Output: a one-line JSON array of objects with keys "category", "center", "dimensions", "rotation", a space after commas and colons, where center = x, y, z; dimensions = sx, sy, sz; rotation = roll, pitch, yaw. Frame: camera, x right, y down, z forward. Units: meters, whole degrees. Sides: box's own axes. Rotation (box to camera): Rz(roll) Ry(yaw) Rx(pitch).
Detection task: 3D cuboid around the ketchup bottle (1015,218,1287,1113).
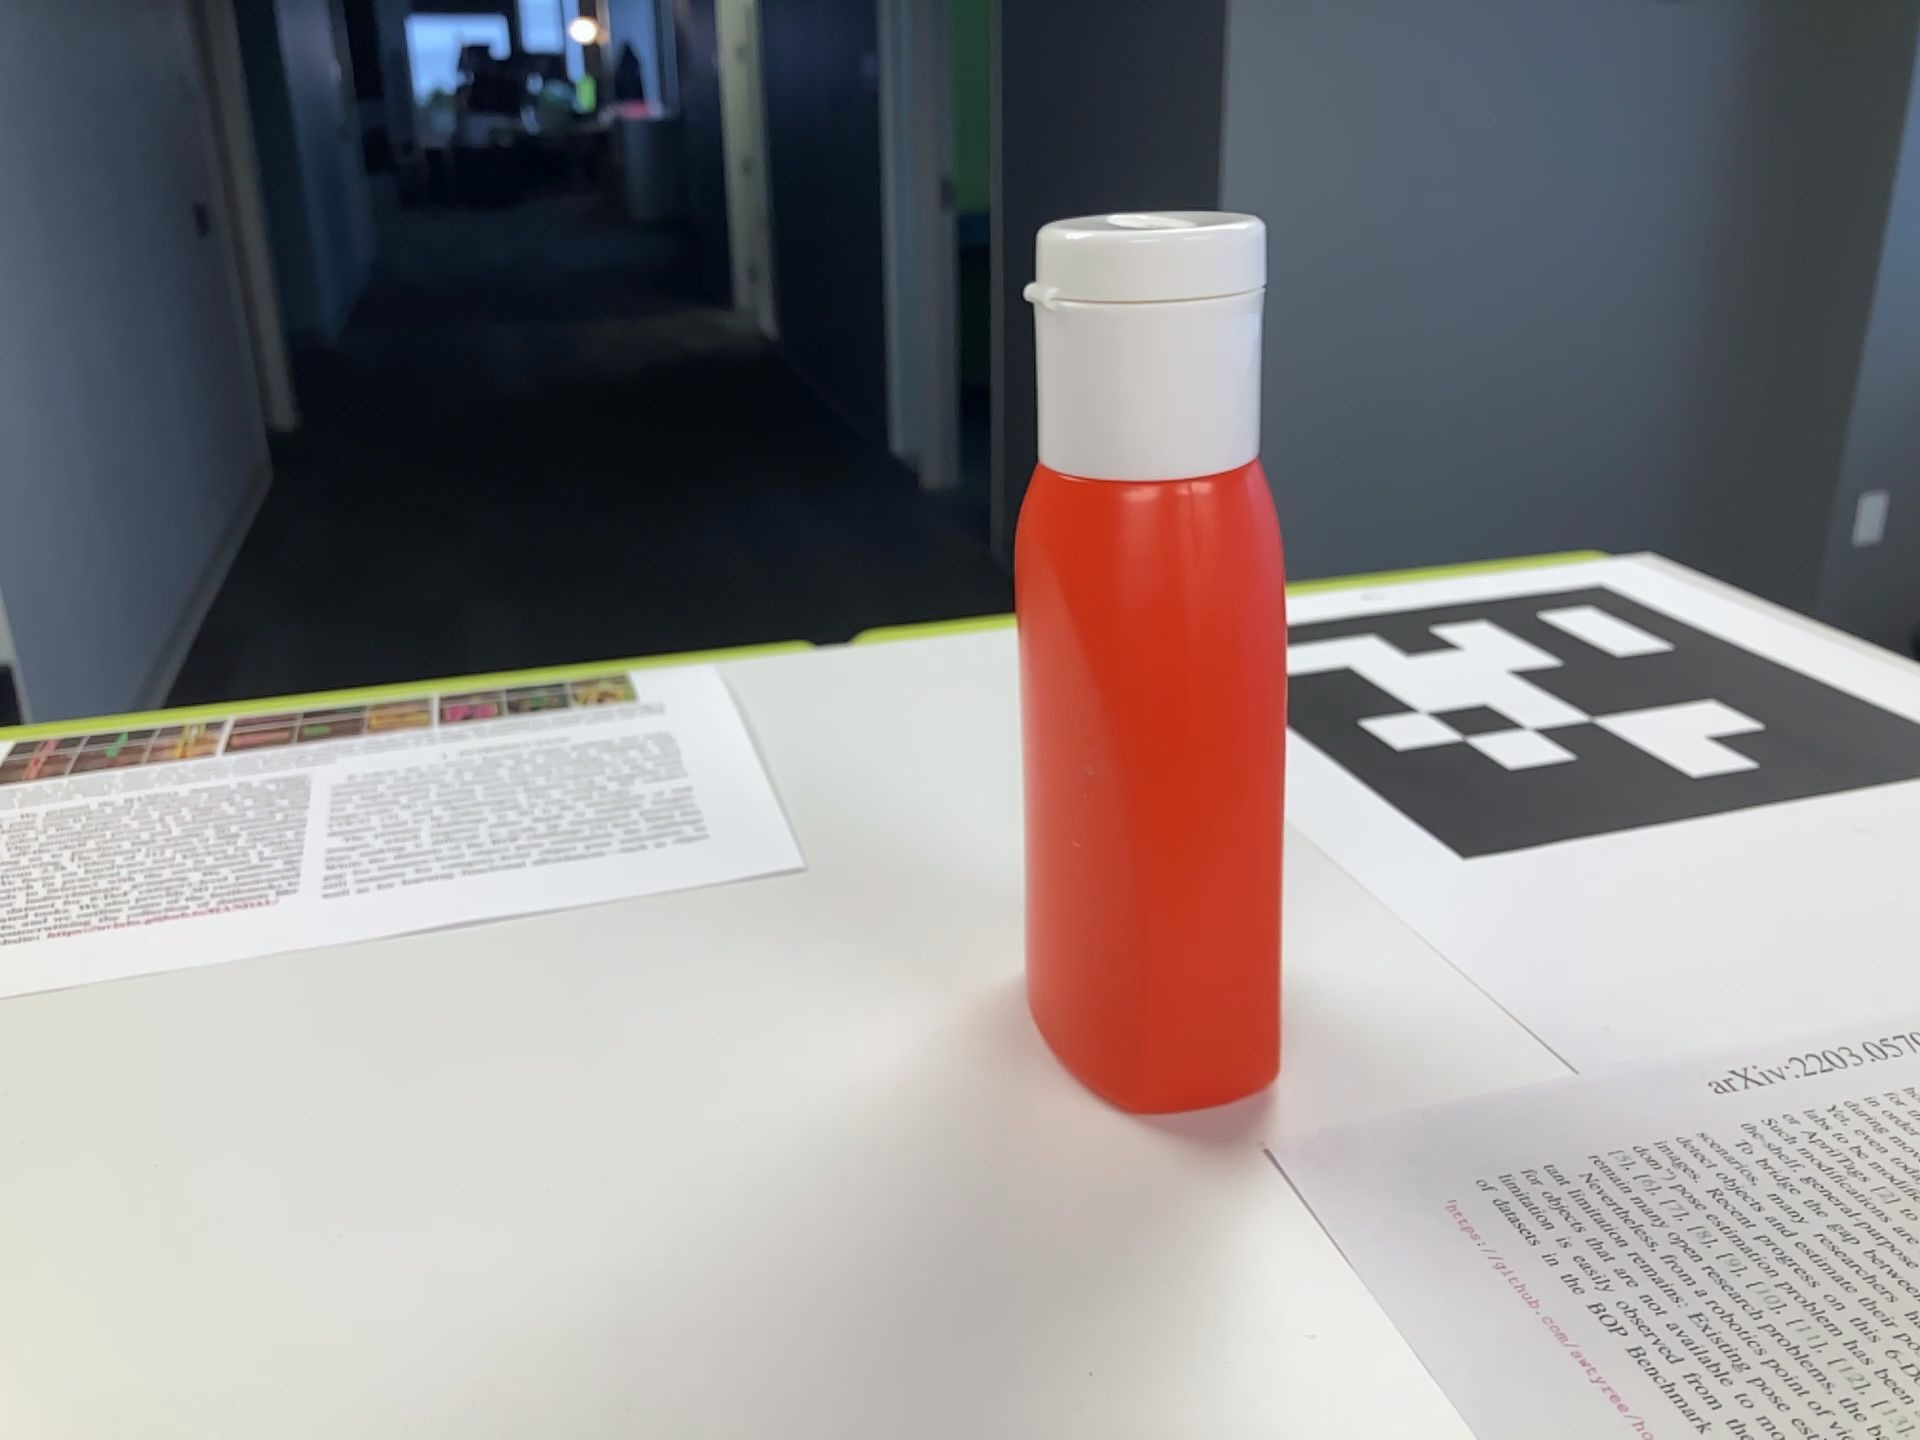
[{"category": "ketchup bottle", "center": [0.032, -0.009, 0.280], "dimensions": [0.043, 0.149, 0.065], "rotation": [-8, 22, -13]}]
